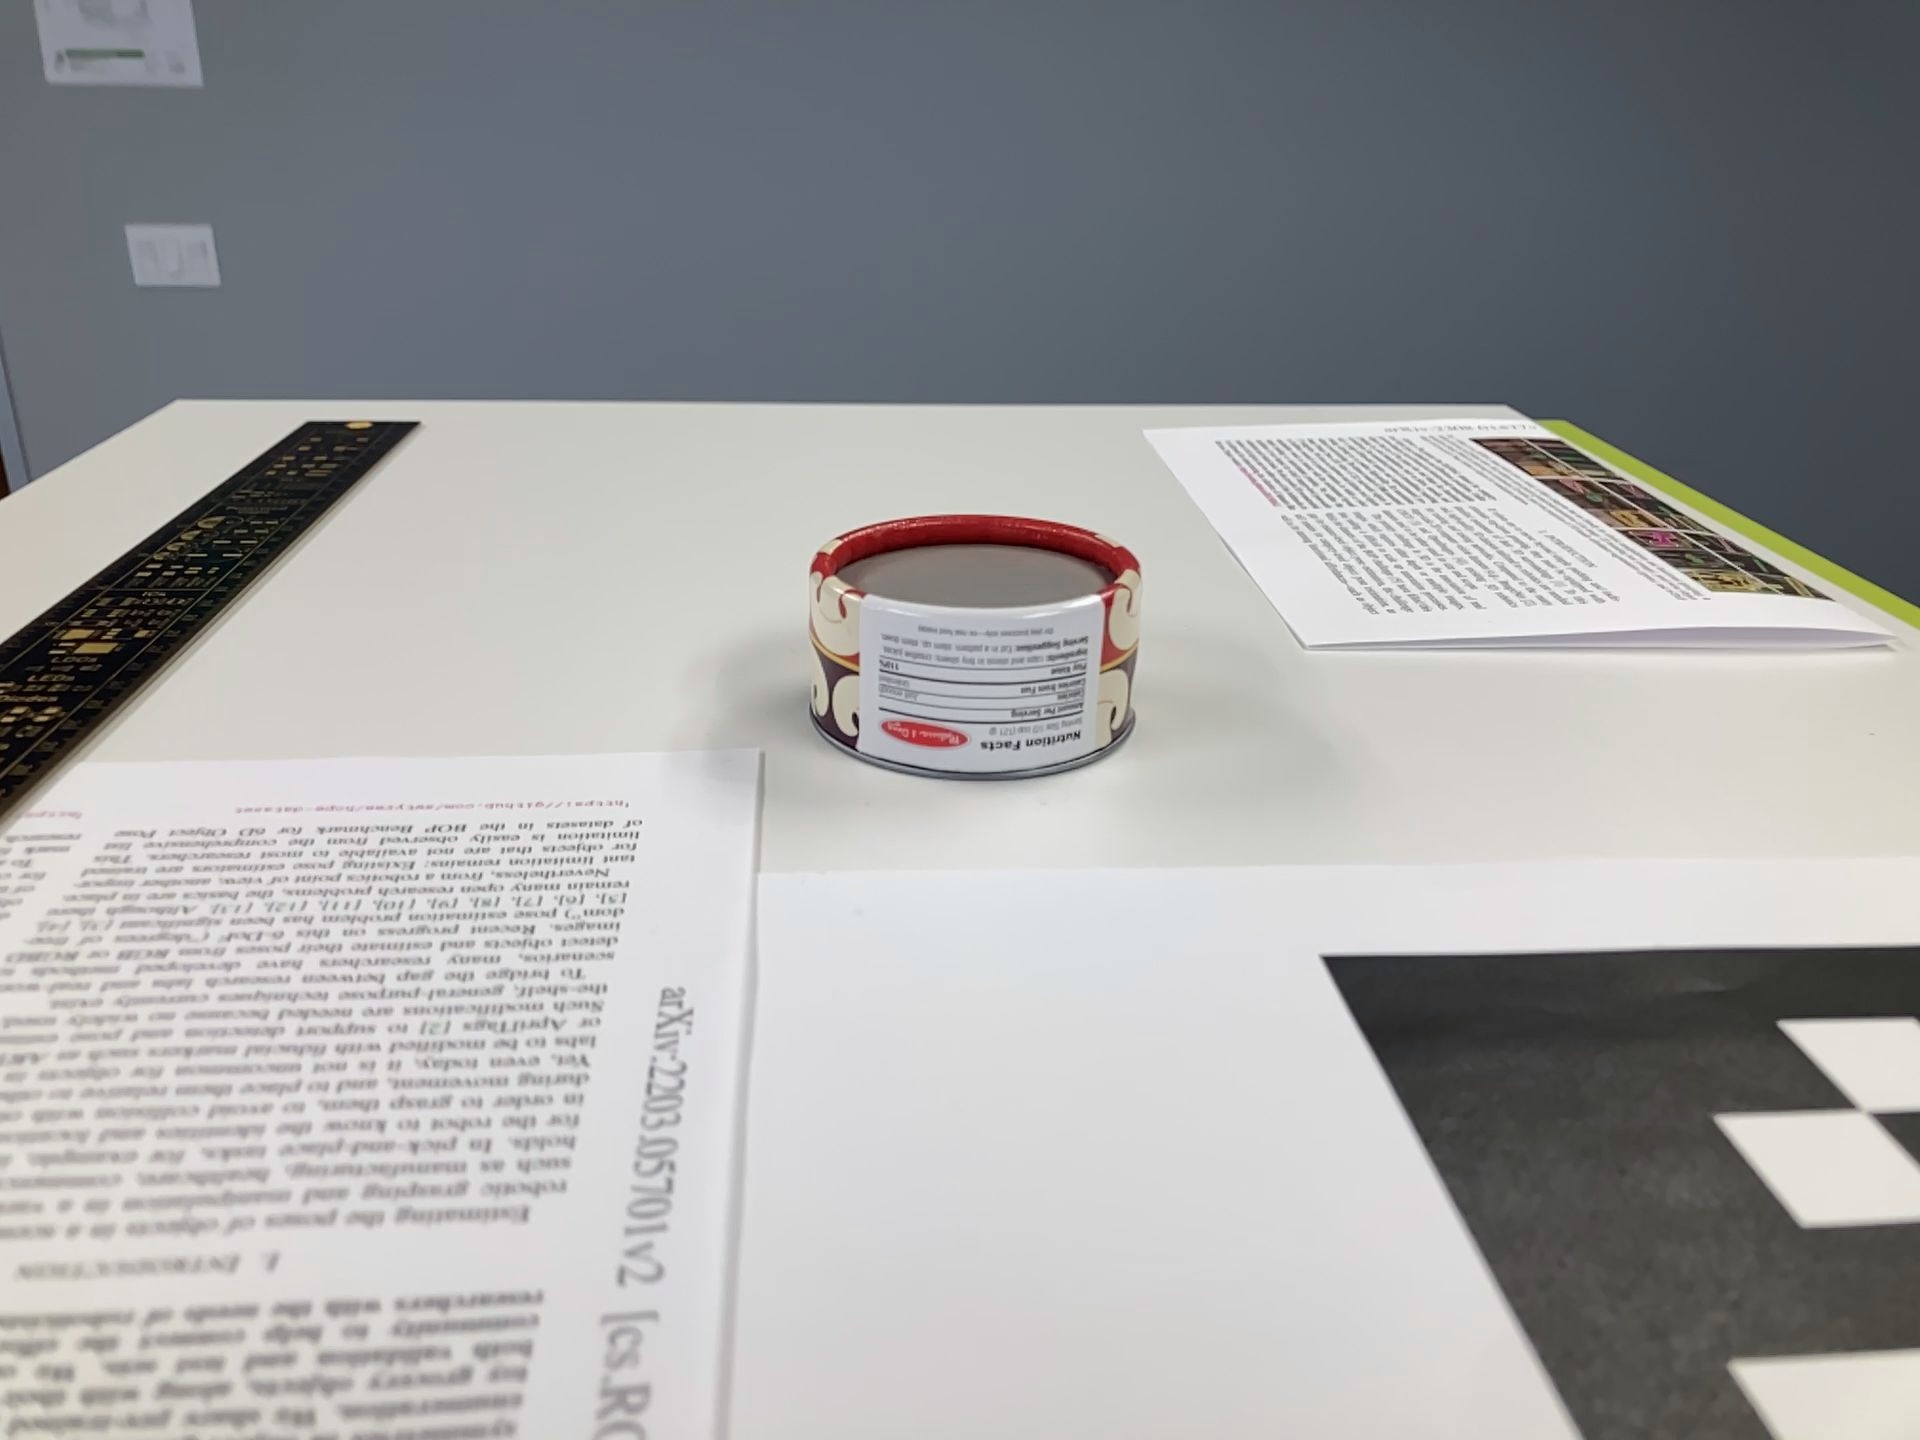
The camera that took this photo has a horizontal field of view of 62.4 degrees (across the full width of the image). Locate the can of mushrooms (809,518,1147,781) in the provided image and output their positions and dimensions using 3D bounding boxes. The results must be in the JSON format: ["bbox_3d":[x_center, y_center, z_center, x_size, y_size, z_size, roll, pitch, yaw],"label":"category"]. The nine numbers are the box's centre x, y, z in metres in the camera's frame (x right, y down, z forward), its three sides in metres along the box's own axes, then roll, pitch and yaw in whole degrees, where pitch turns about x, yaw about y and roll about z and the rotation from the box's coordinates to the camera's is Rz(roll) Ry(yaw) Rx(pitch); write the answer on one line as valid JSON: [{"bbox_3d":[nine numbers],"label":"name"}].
[{"bbox_3d":[0.003,-0.017,0.315,0.071,0.033,0.071,0,22,0],"label":"can of mushrooms"}]
